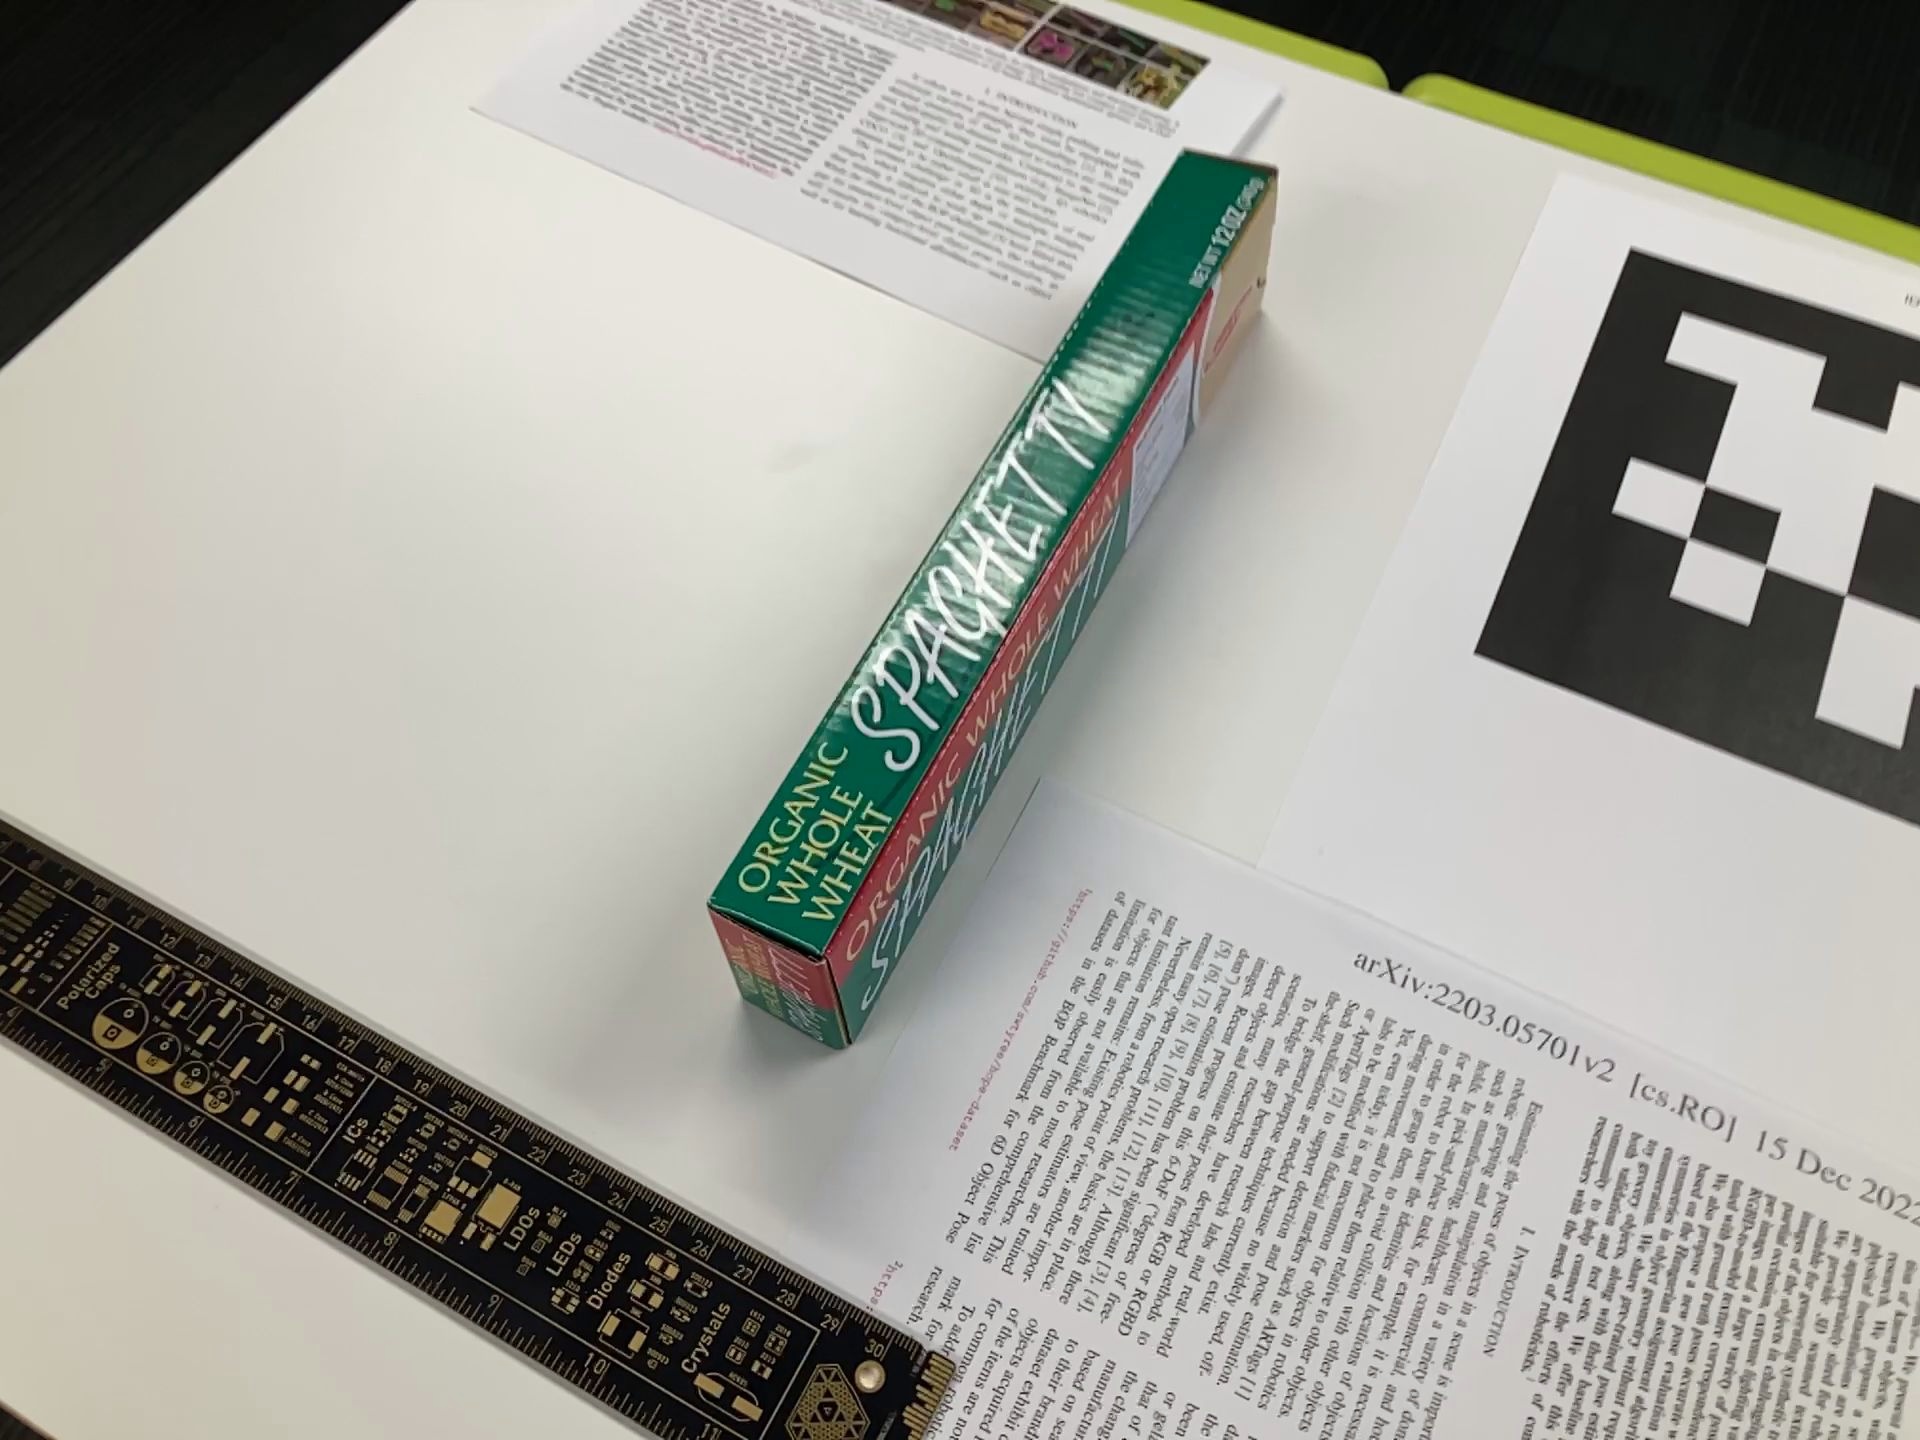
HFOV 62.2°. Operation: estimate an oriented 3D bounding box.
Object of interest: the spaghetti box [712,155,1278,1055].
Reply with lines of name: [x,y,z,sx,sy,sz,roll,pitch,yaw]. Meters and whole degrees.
spaghetti box: [0.018,-0.040,0.385,0.028,0.050,0.250,22,62,17]
